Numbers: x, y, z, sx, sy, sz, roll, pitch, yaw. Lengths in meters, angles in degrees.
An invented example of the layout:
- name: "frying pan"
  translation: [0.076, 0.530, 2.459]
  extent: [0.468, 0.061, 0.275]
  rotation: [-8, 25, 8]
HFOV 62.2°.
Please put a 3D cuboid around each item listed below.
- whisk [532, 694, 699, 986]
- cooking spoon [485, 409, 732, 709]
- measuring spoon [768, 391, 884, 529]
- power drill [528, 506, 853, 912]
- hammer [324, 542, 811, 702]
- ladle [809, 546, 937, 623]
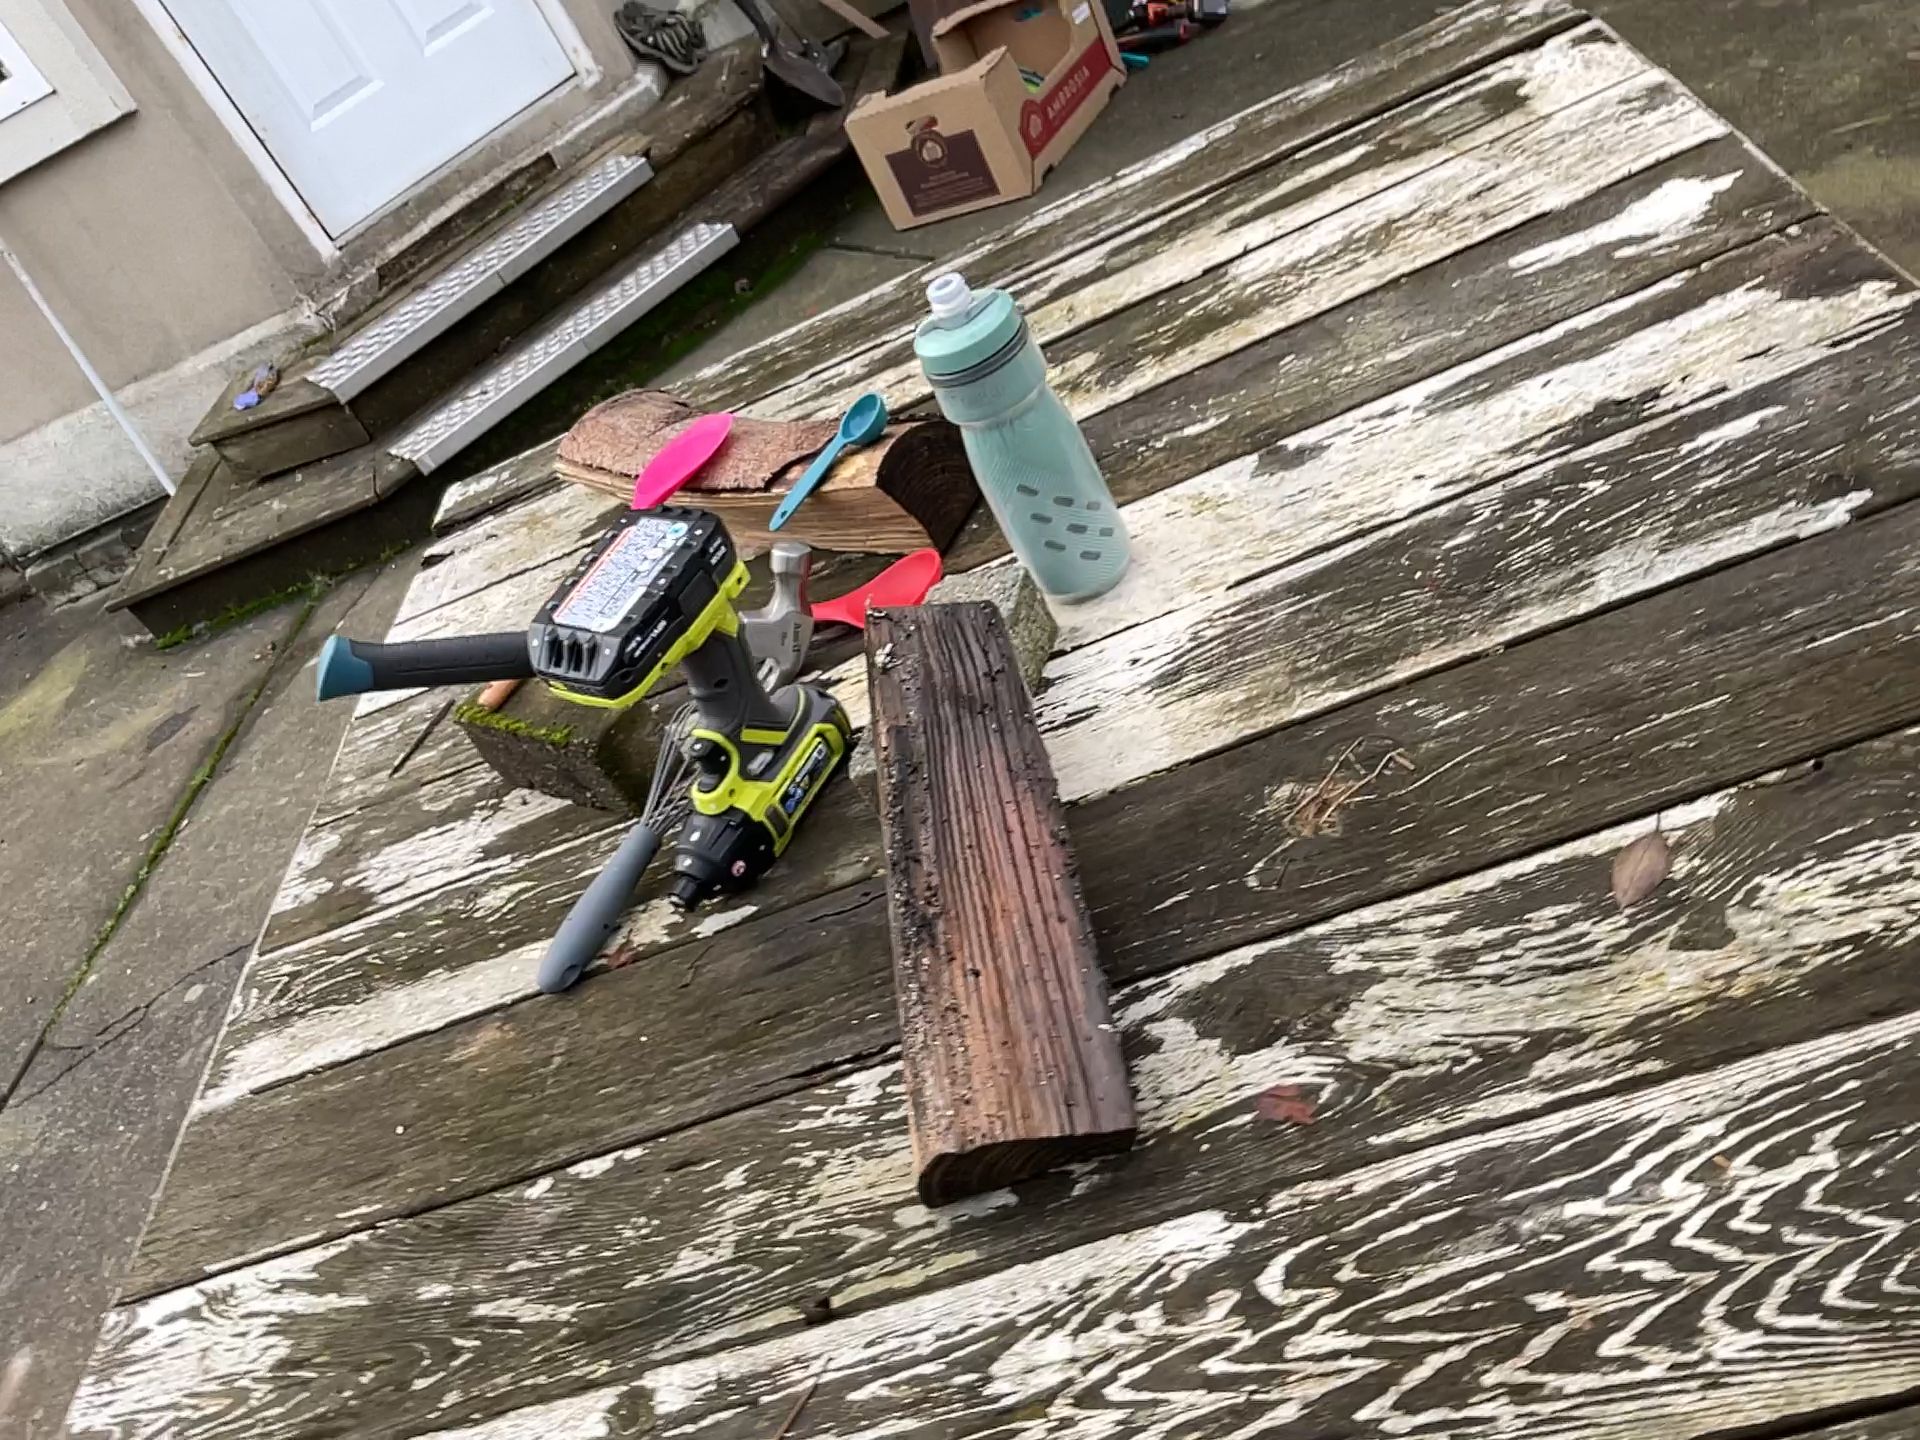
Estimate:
- name: "whisk"
  translation: [-0.215, 0.074, 1.060]
  extent: [0.055, 0.055, 0.239]
  rotation: [-4, 46, 44]
- name: "cooking spoon"
  translation: [-0.271, -0.133, 1.239]
  extent: [0.069, 0.017, 0.319]
  rotation: [6, 54, 39]
- name: "measuring spoon"
  translation: [-0.097, -0.188, 1.186]
  extent: [0.128, 0.021, 0.042]
  rotation: [-50, 34, 11]
- name: "power drill"
  translation: [-0.160, -0.003, 0.973]
  extent: [0.080, 0.222, 0.171]
  rotation: [10, 53, 33]
- name: "hammer"
  translation: [-0.265, -0.049, 1.102]
  extent: [0.330, 0.128, 0.033]
  rotation: [-6, 27, -21]
- name: "ladle"
  translation: [-0.148, -0.075, 1.218]
  extent: [0.315, 0.031, 0.069]
  rotation: [-12, 42, 28]
